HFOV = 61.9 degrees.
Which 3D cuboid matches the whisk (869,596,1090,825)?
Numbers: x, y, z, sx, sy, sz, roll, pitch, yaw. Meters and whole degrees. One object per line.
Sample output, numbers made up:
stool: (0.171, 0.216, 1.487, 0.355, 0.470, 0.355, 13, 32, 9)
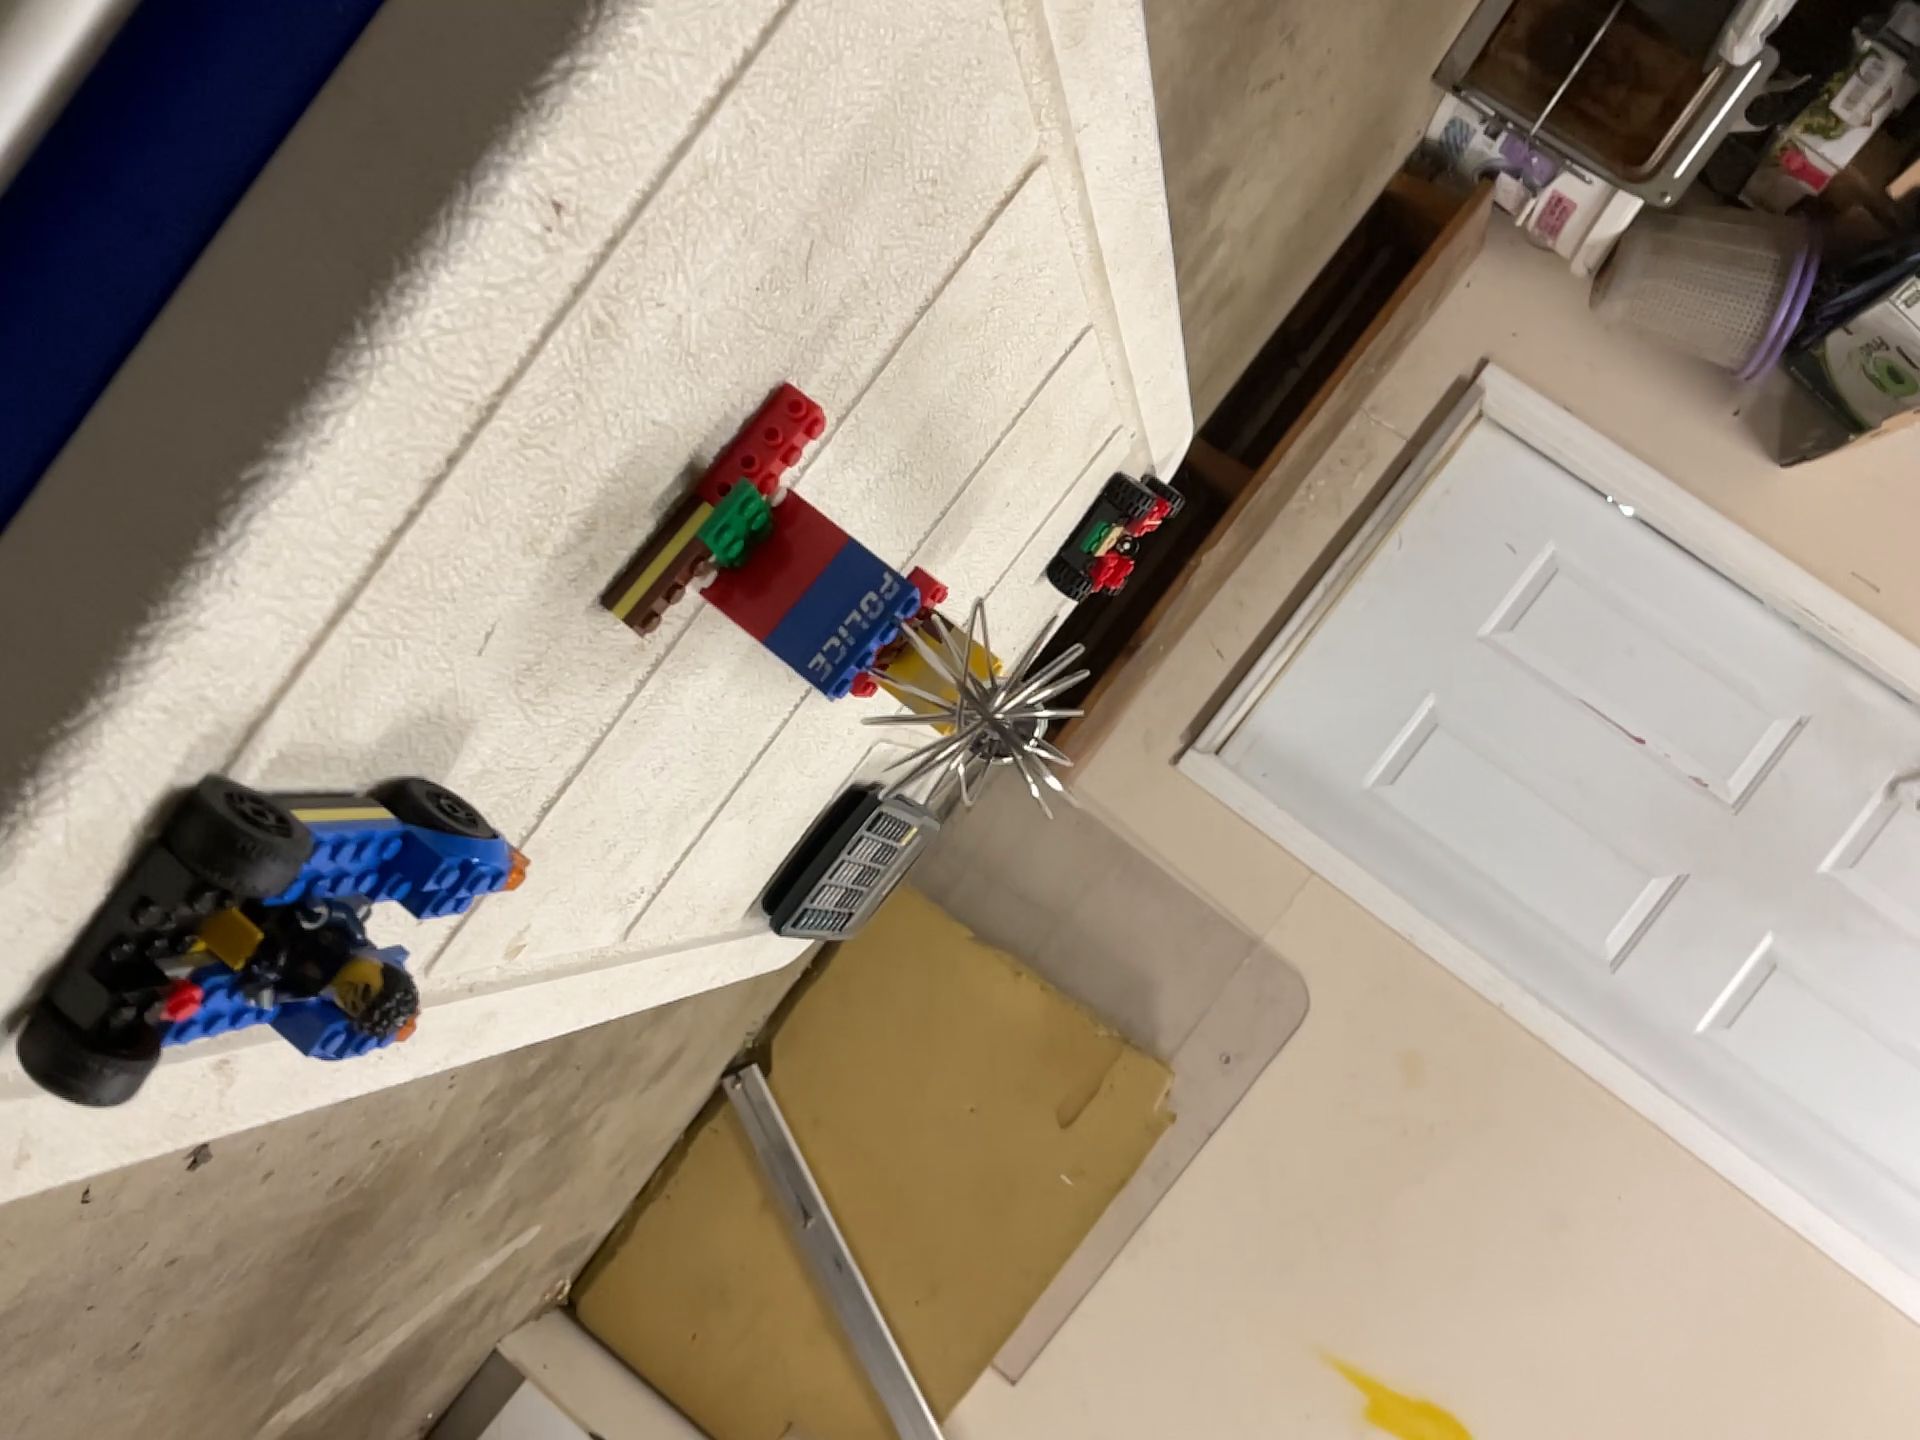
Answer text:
whisk: (0.011, 0.000, 0.450, 0.058, 0.059, 0.246, -45, 177, 2)
